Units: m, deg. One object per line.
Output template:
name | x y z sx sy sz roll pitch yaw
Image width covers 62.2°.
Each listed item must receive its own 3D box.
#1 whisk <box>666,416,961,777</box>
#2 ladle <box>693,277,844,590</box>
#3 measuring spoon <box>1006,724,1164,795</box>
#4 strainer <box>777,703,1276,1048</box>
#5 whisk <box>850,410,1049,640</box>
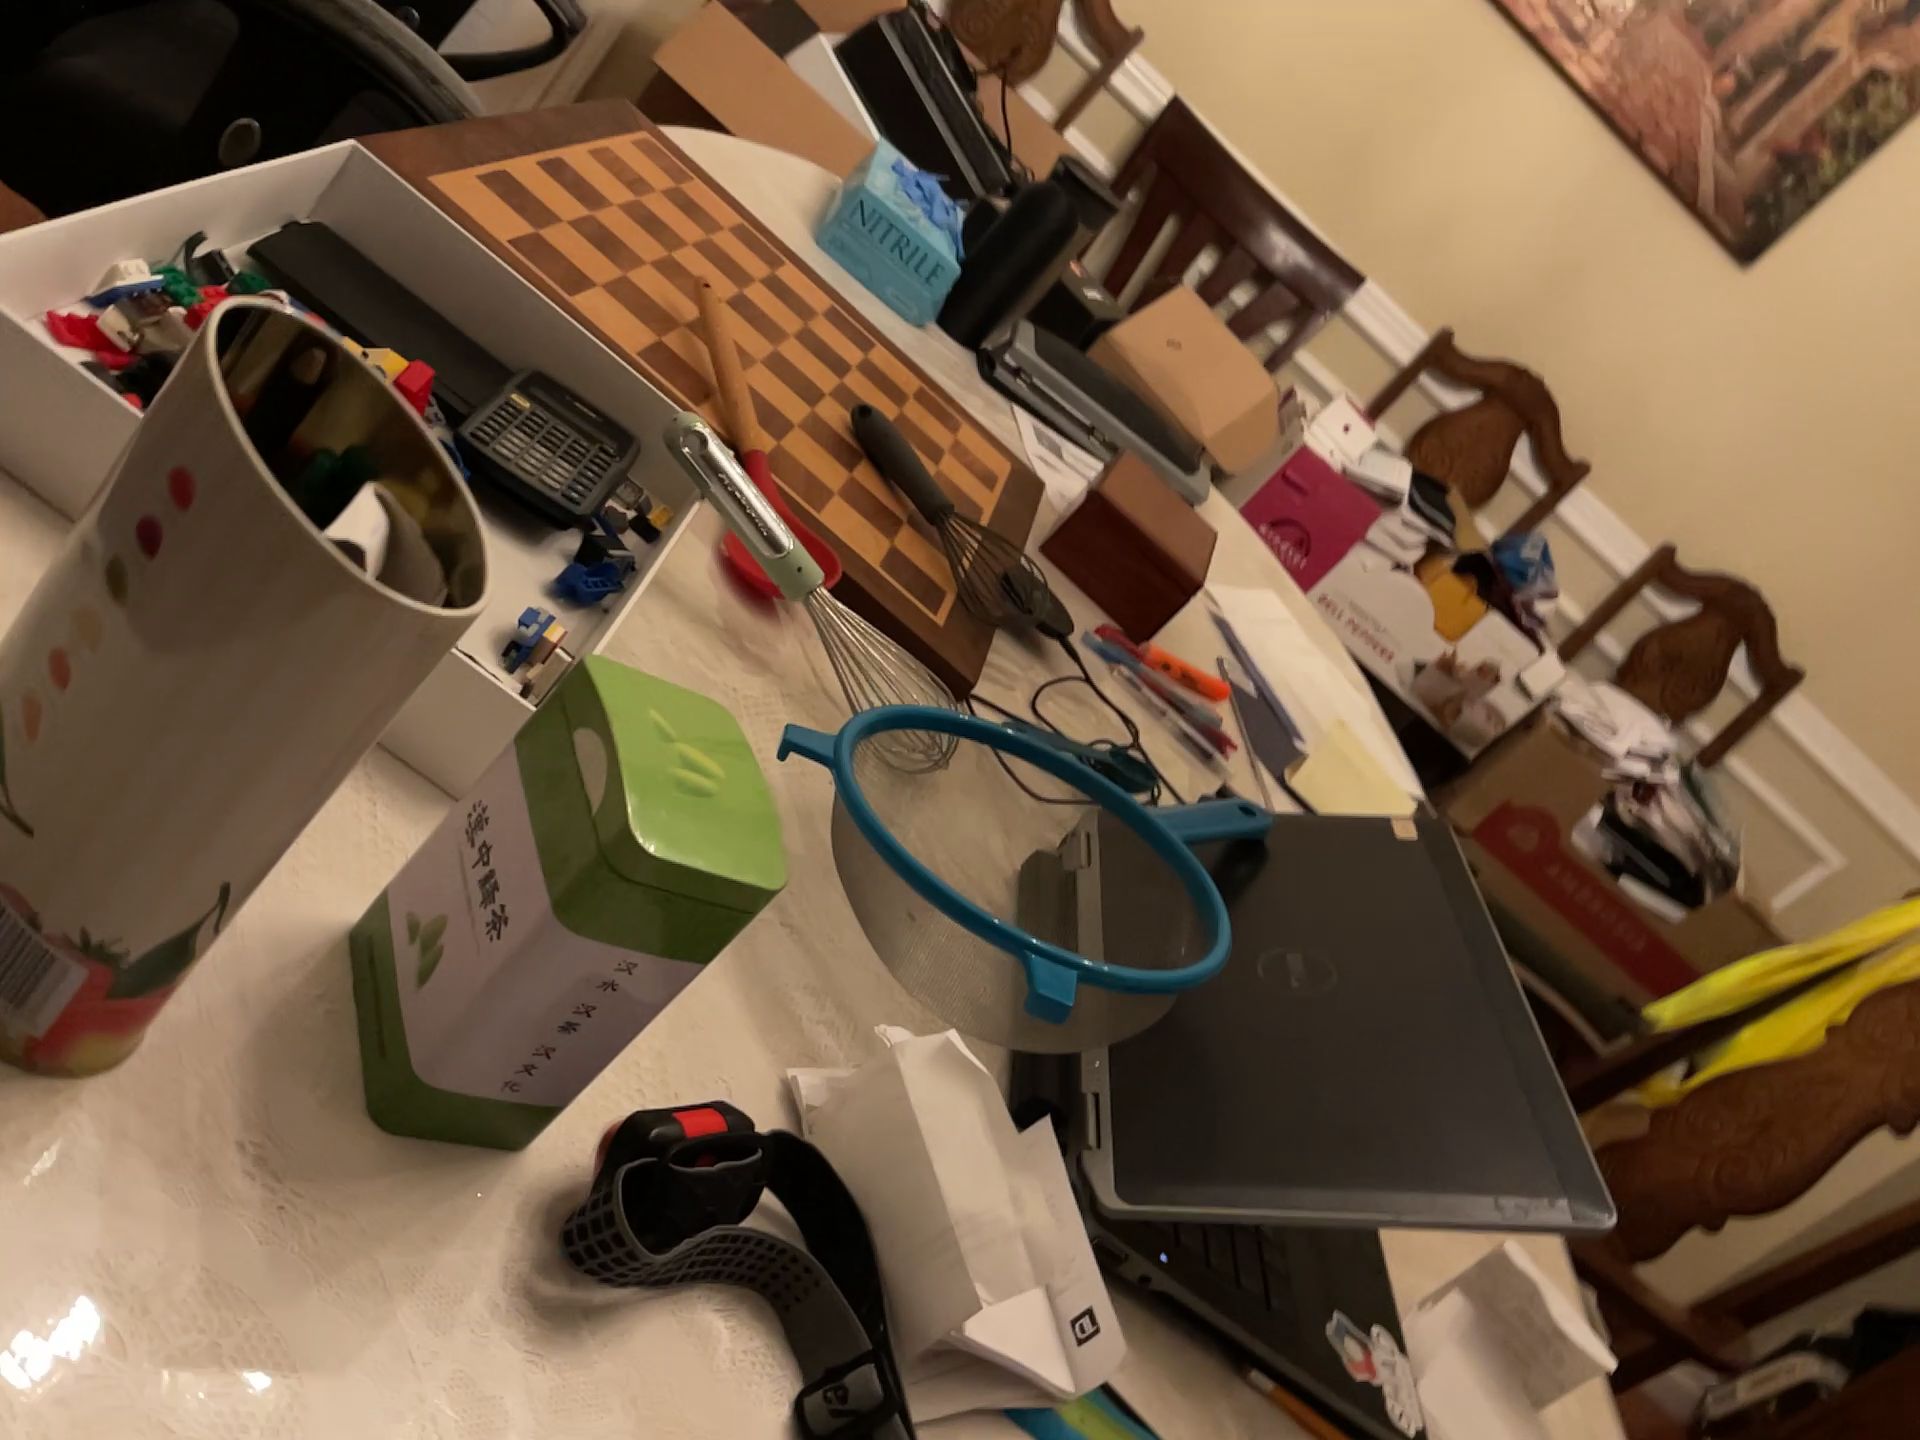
whisk | -0.077 -0.063 0.867 0.246 0.058 0.059 52 -11 -18
ladle | -0.138 -0.187 1.015 0.069 0.031 0.316 2 47 -27
measuring spoon | 0.081 0.027 1.074 0.128 0.021 0.042 16 26 -28
strainer | 0.057 0.088 0.812 0.211 0.095 0.340 42 24 30
whisk | -0.013 -0.145 1.140 0.239 0.055 0.055 52 10 28
